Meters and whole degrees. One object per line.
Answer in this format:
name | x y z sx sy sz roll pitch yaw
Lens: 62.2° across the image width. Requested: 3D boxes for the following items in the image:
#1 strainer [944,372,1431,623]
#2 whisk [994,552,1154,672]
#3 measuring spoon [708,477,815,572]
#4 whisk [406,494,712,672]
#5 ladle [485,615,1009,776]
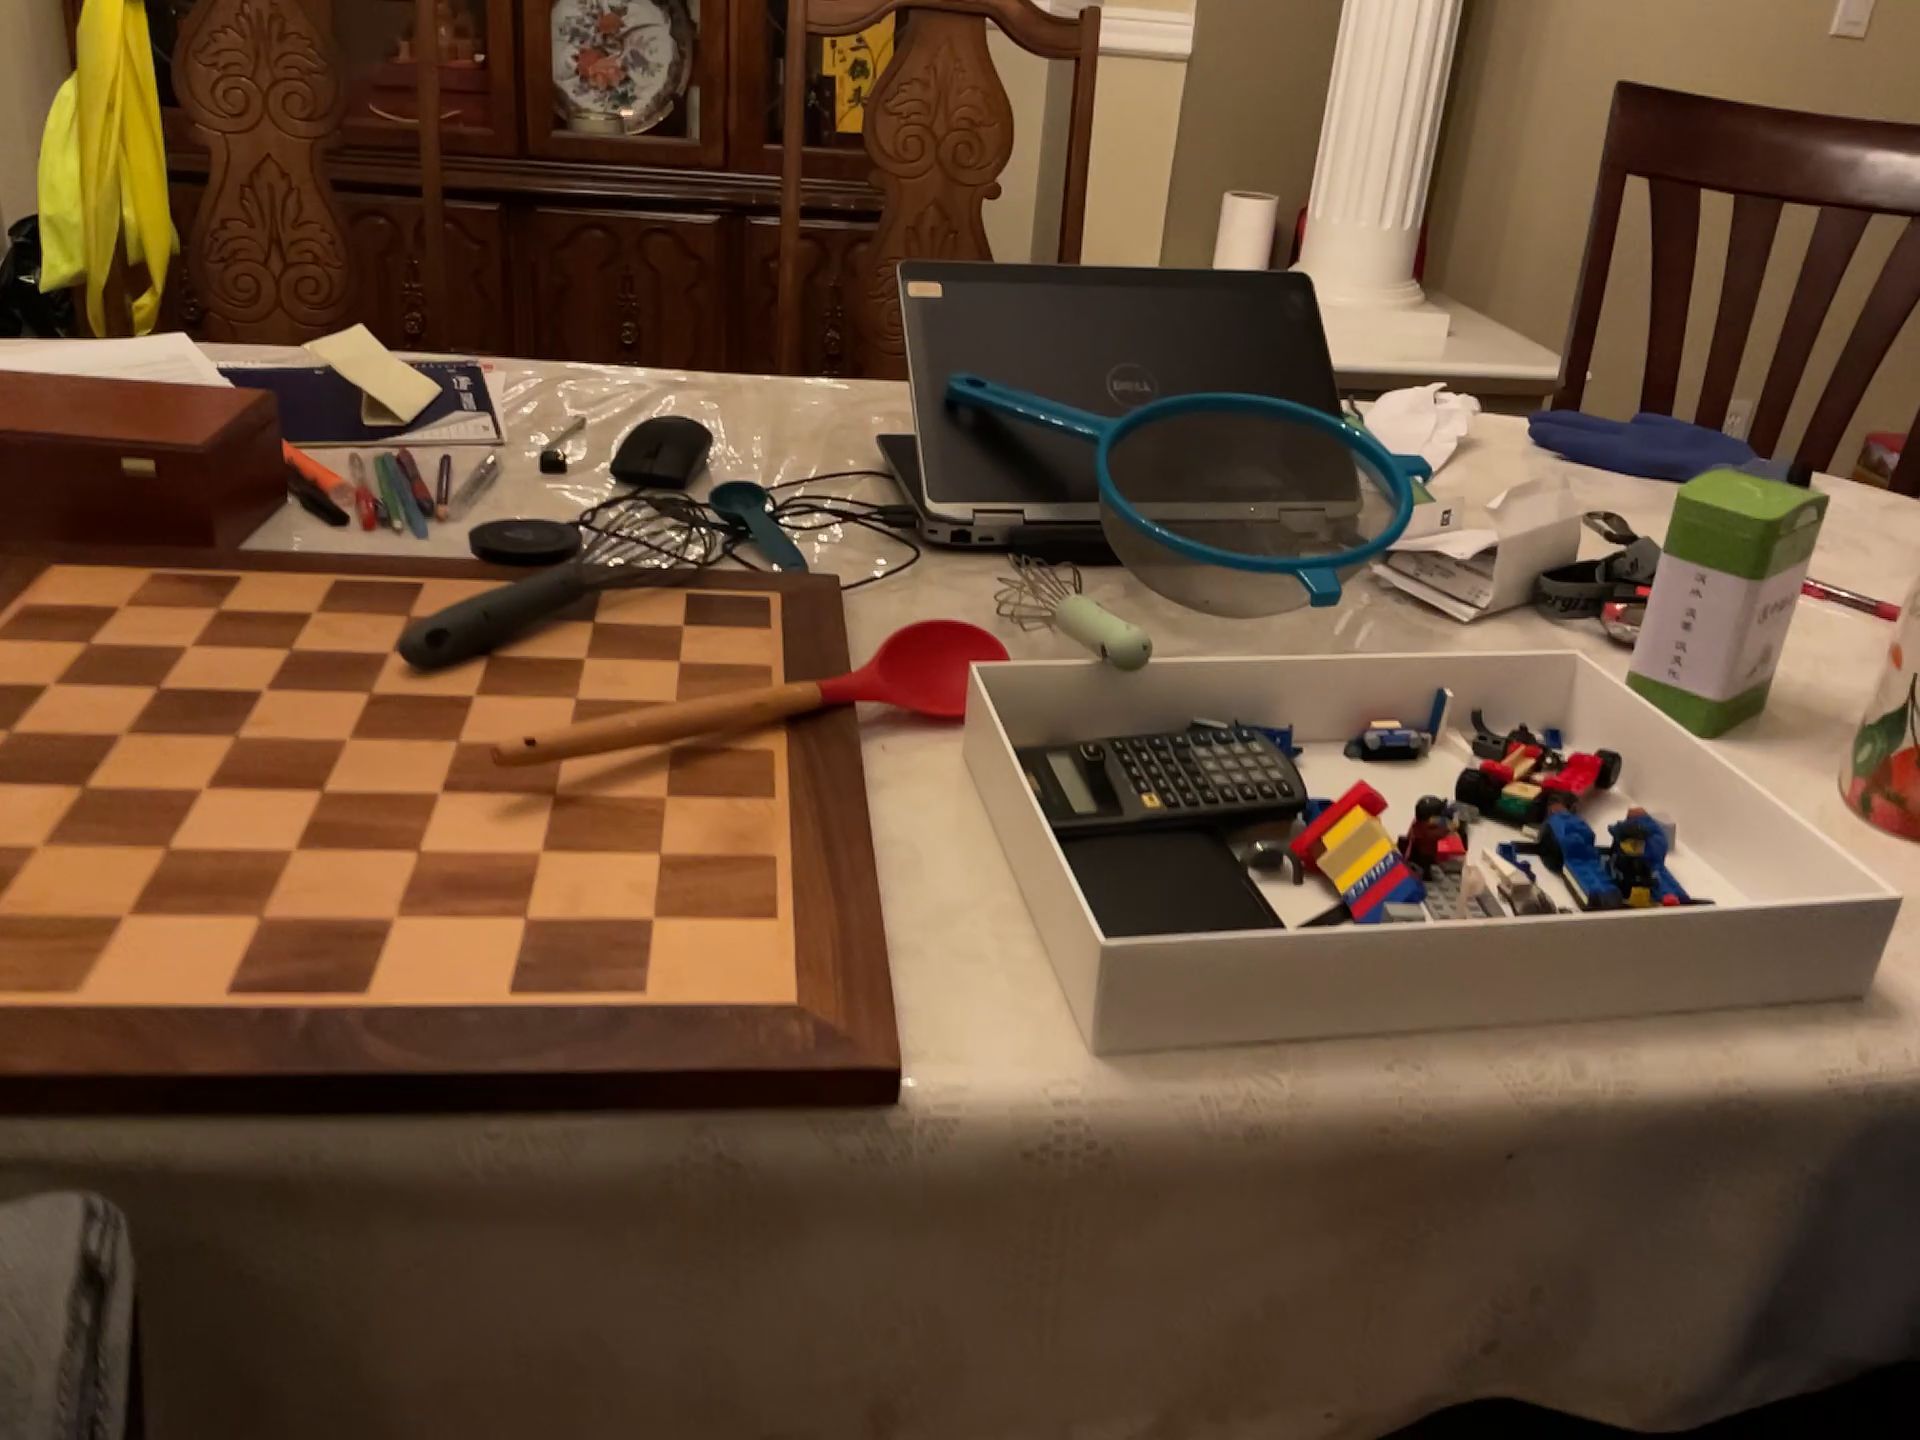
strainer | 0.135 -0.153 1.097 0.341 0.095 0.211 23 44 22
whisk | 0.066 -0.062 0.922 0.059 0.057 0.246 -30 17 -4
measuring spoon | -0.134 -0.128 1.101 0.042 0.021 0.129 -19 46 -26
whisk | -0.226 -0.079 0.923 0.055 0.055 0.239 6 27 33
ladle | -0.096 -0.008 0.815 0.315 0.031 0.069 -14 54 -42
